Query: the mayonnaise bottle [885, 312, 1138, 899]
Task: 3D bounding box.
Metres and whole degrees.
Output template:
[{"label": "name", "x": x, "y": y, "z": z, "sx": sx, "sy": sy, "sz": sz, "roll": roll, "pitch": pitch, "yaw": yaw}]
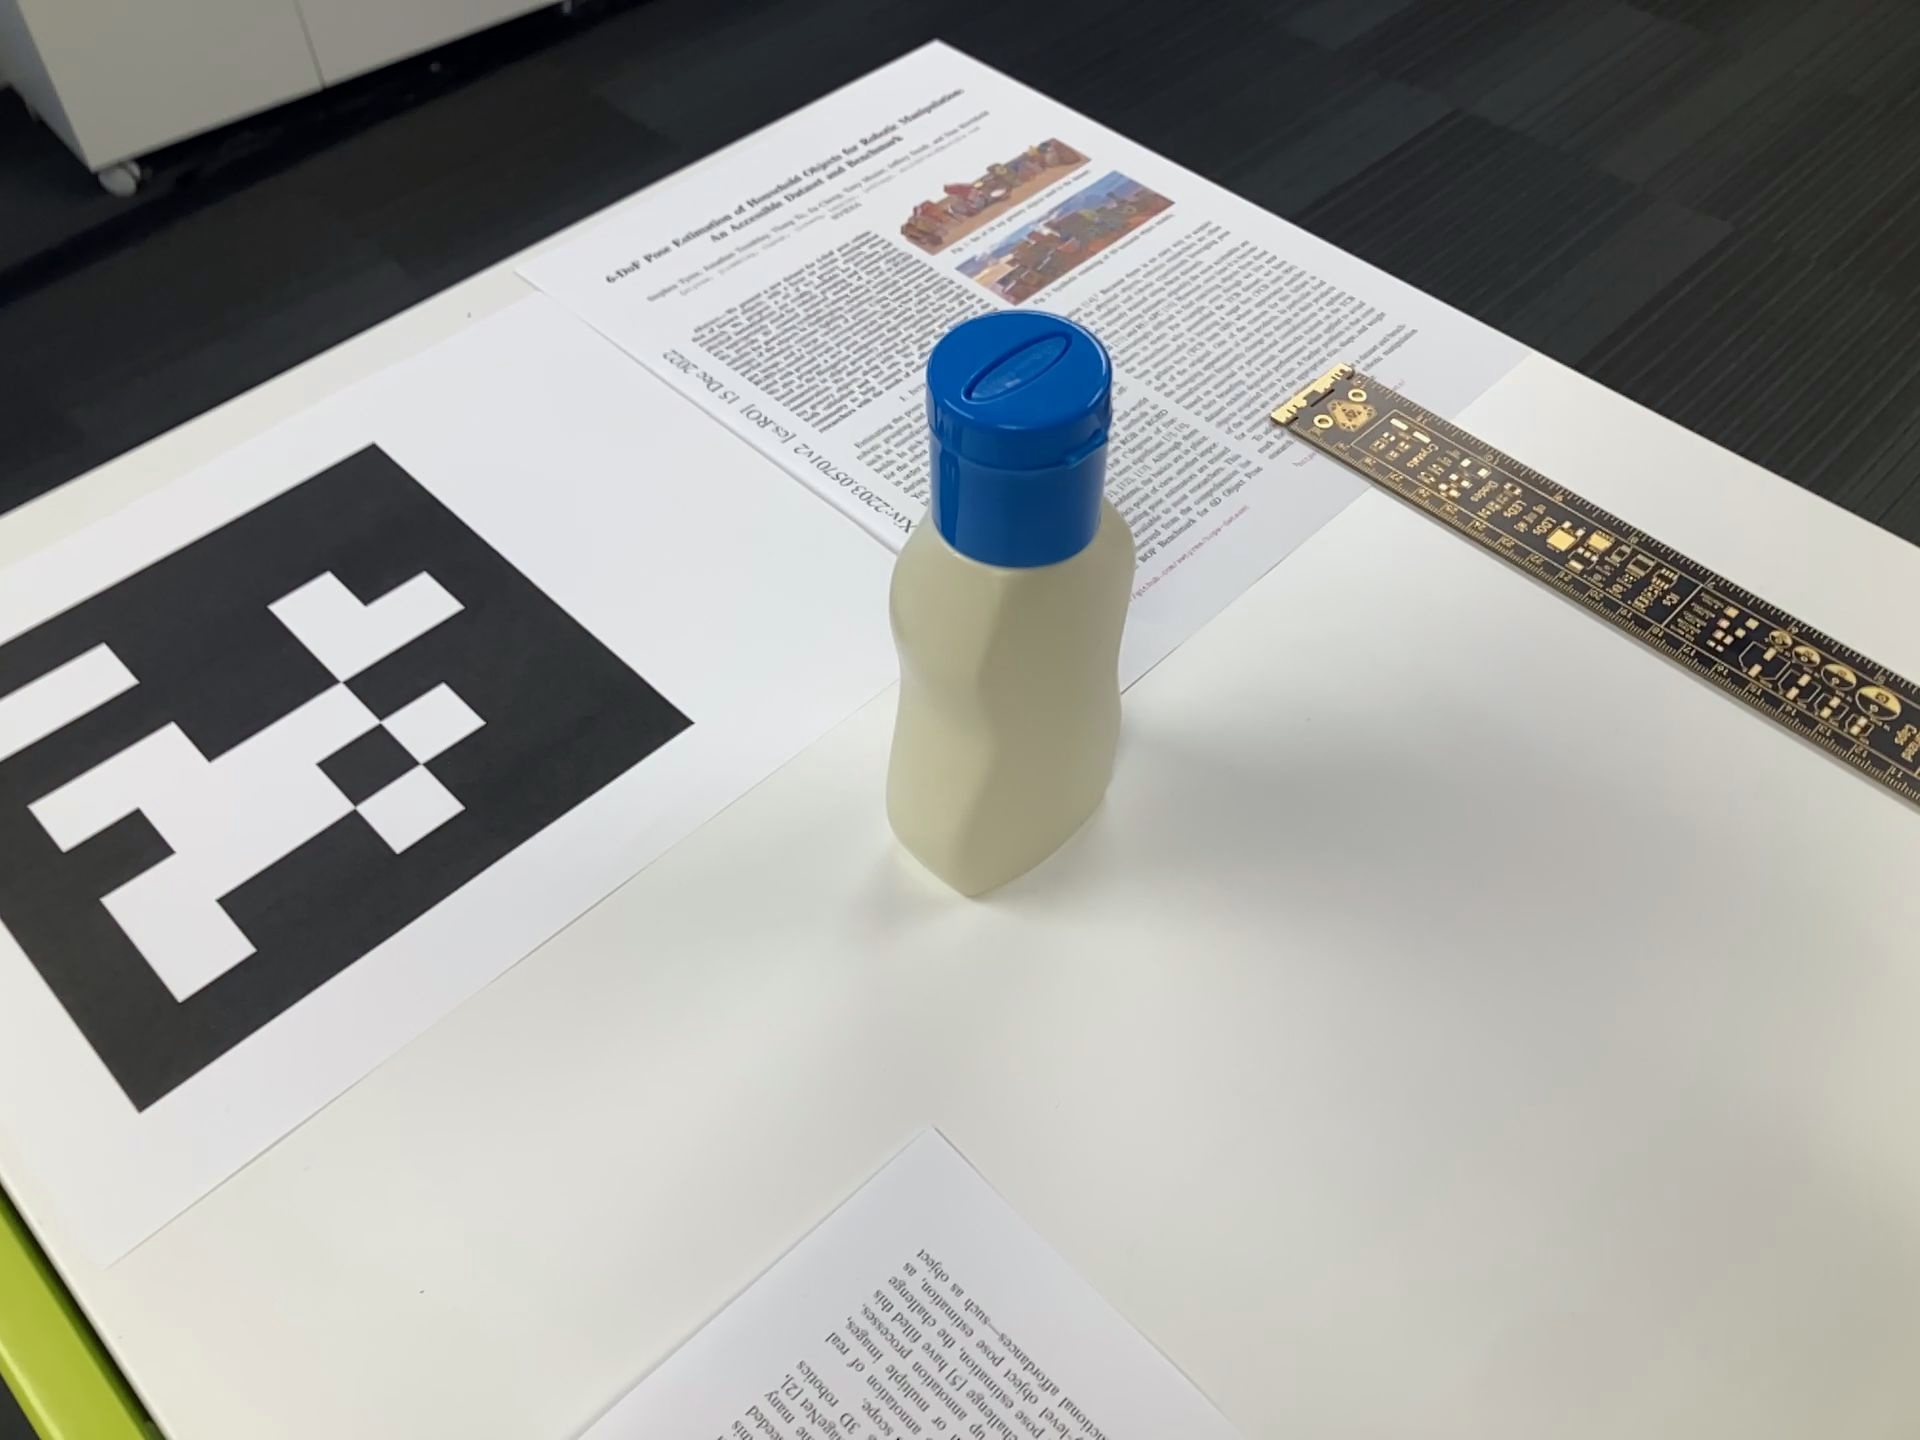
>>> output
[{"label": "mayonnaise bottle", "x": 0.011, "y": -0.022, "z": 0.361, "sx": 0.065, "sy": 0.148, "sz": 0.041, "roll": -38, "pitch": 60, "yaw": -26}]
